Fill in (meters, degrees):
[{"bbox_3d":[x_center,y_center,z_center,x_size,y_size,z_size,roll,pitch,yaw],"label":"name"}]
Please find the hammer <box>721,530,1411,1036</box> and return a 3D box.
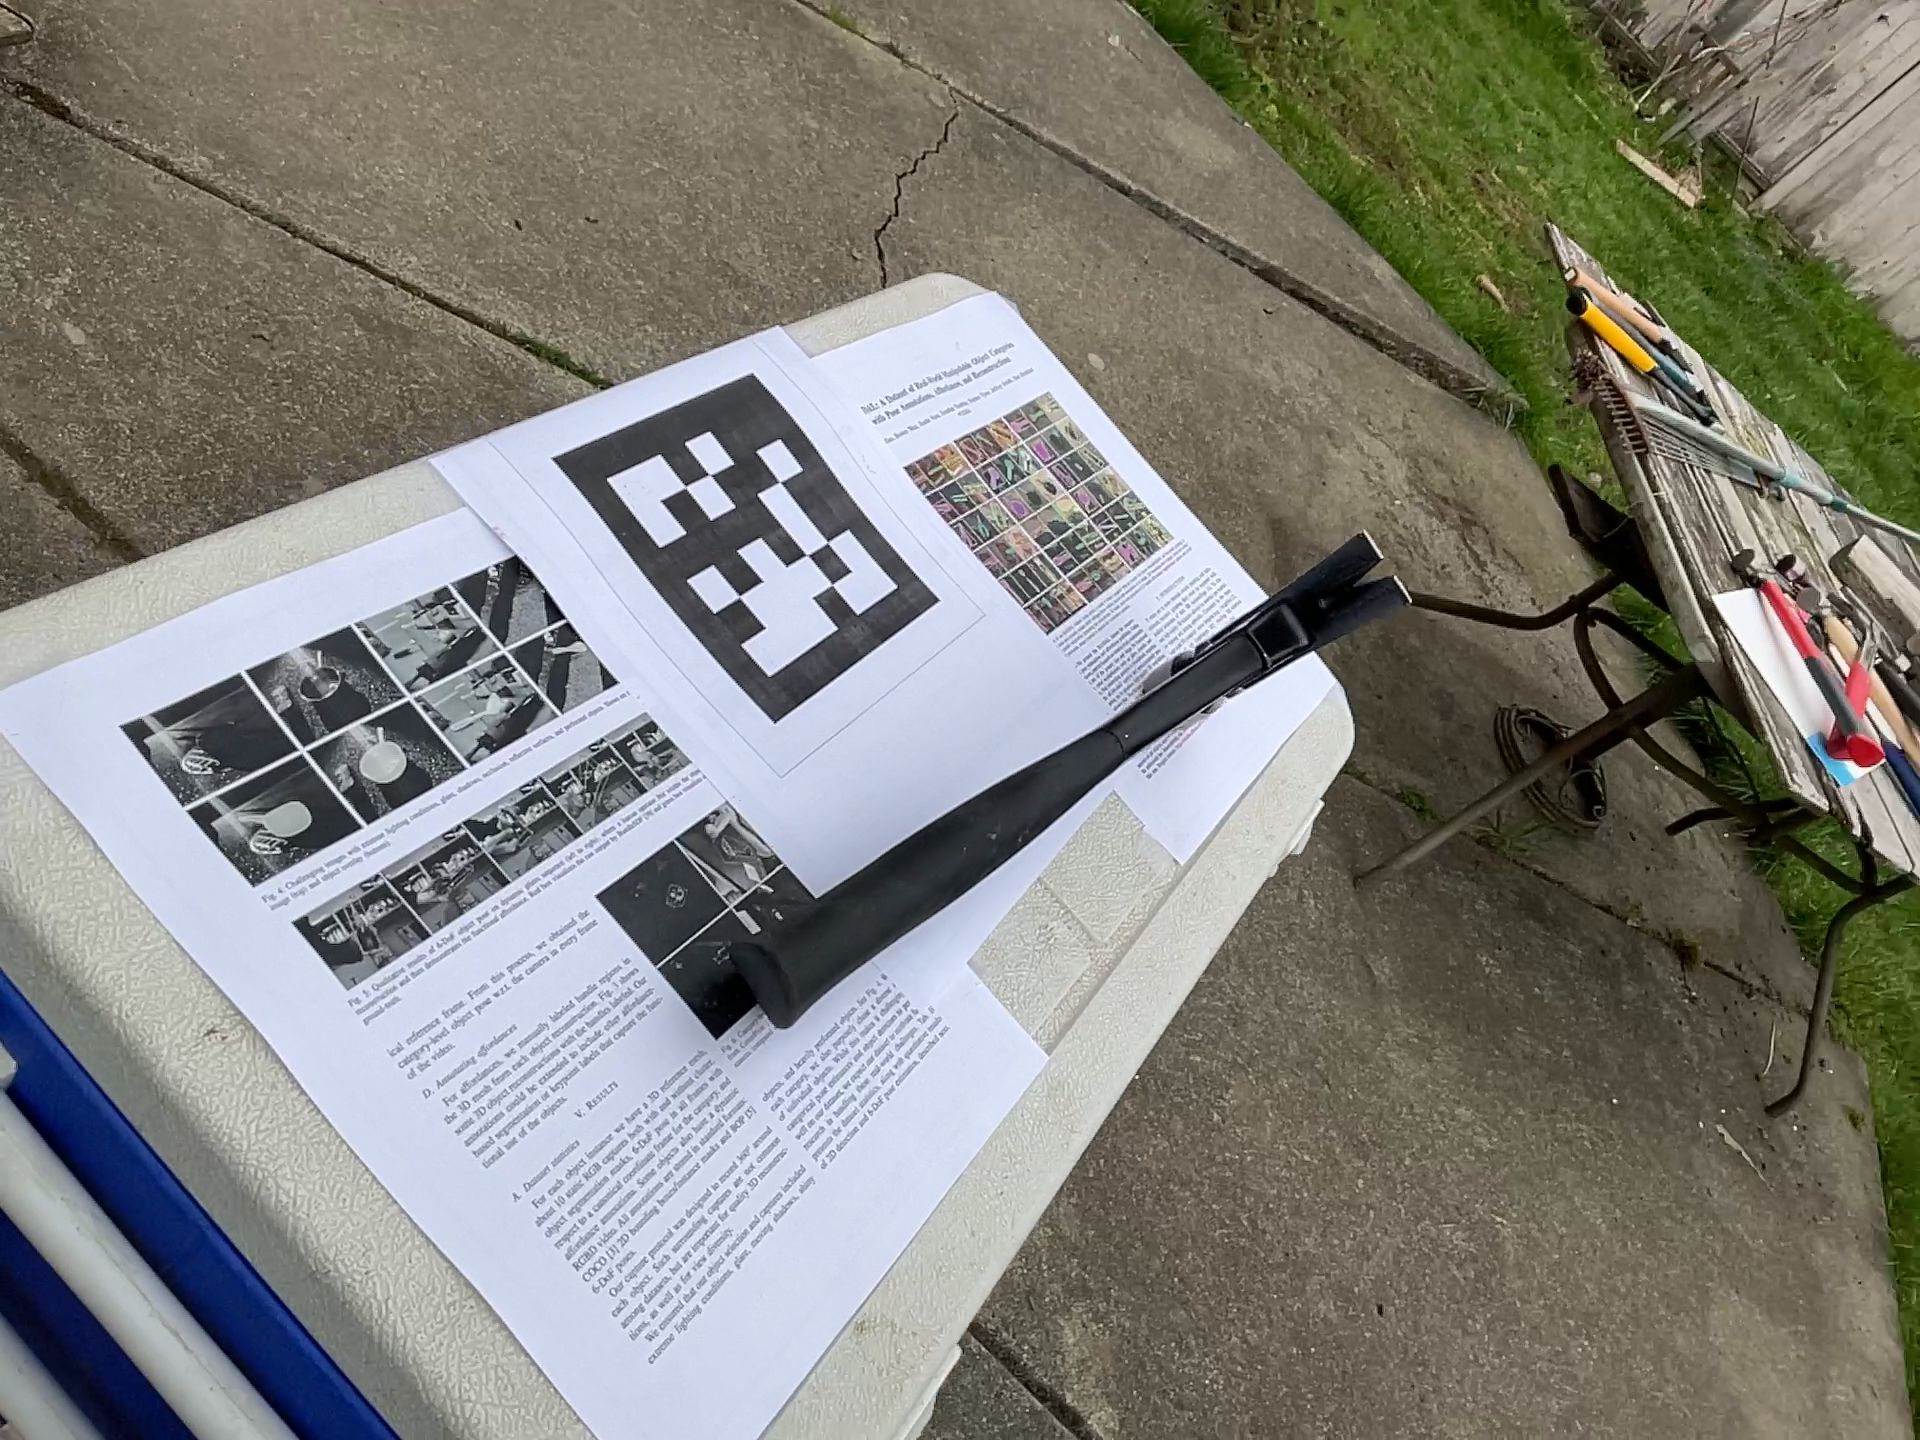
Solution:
[{"bbox_3d":[0.043,0.019,0.588,0.334,0.146,0.035,-31,87,-43],"label":"hammer"}]
